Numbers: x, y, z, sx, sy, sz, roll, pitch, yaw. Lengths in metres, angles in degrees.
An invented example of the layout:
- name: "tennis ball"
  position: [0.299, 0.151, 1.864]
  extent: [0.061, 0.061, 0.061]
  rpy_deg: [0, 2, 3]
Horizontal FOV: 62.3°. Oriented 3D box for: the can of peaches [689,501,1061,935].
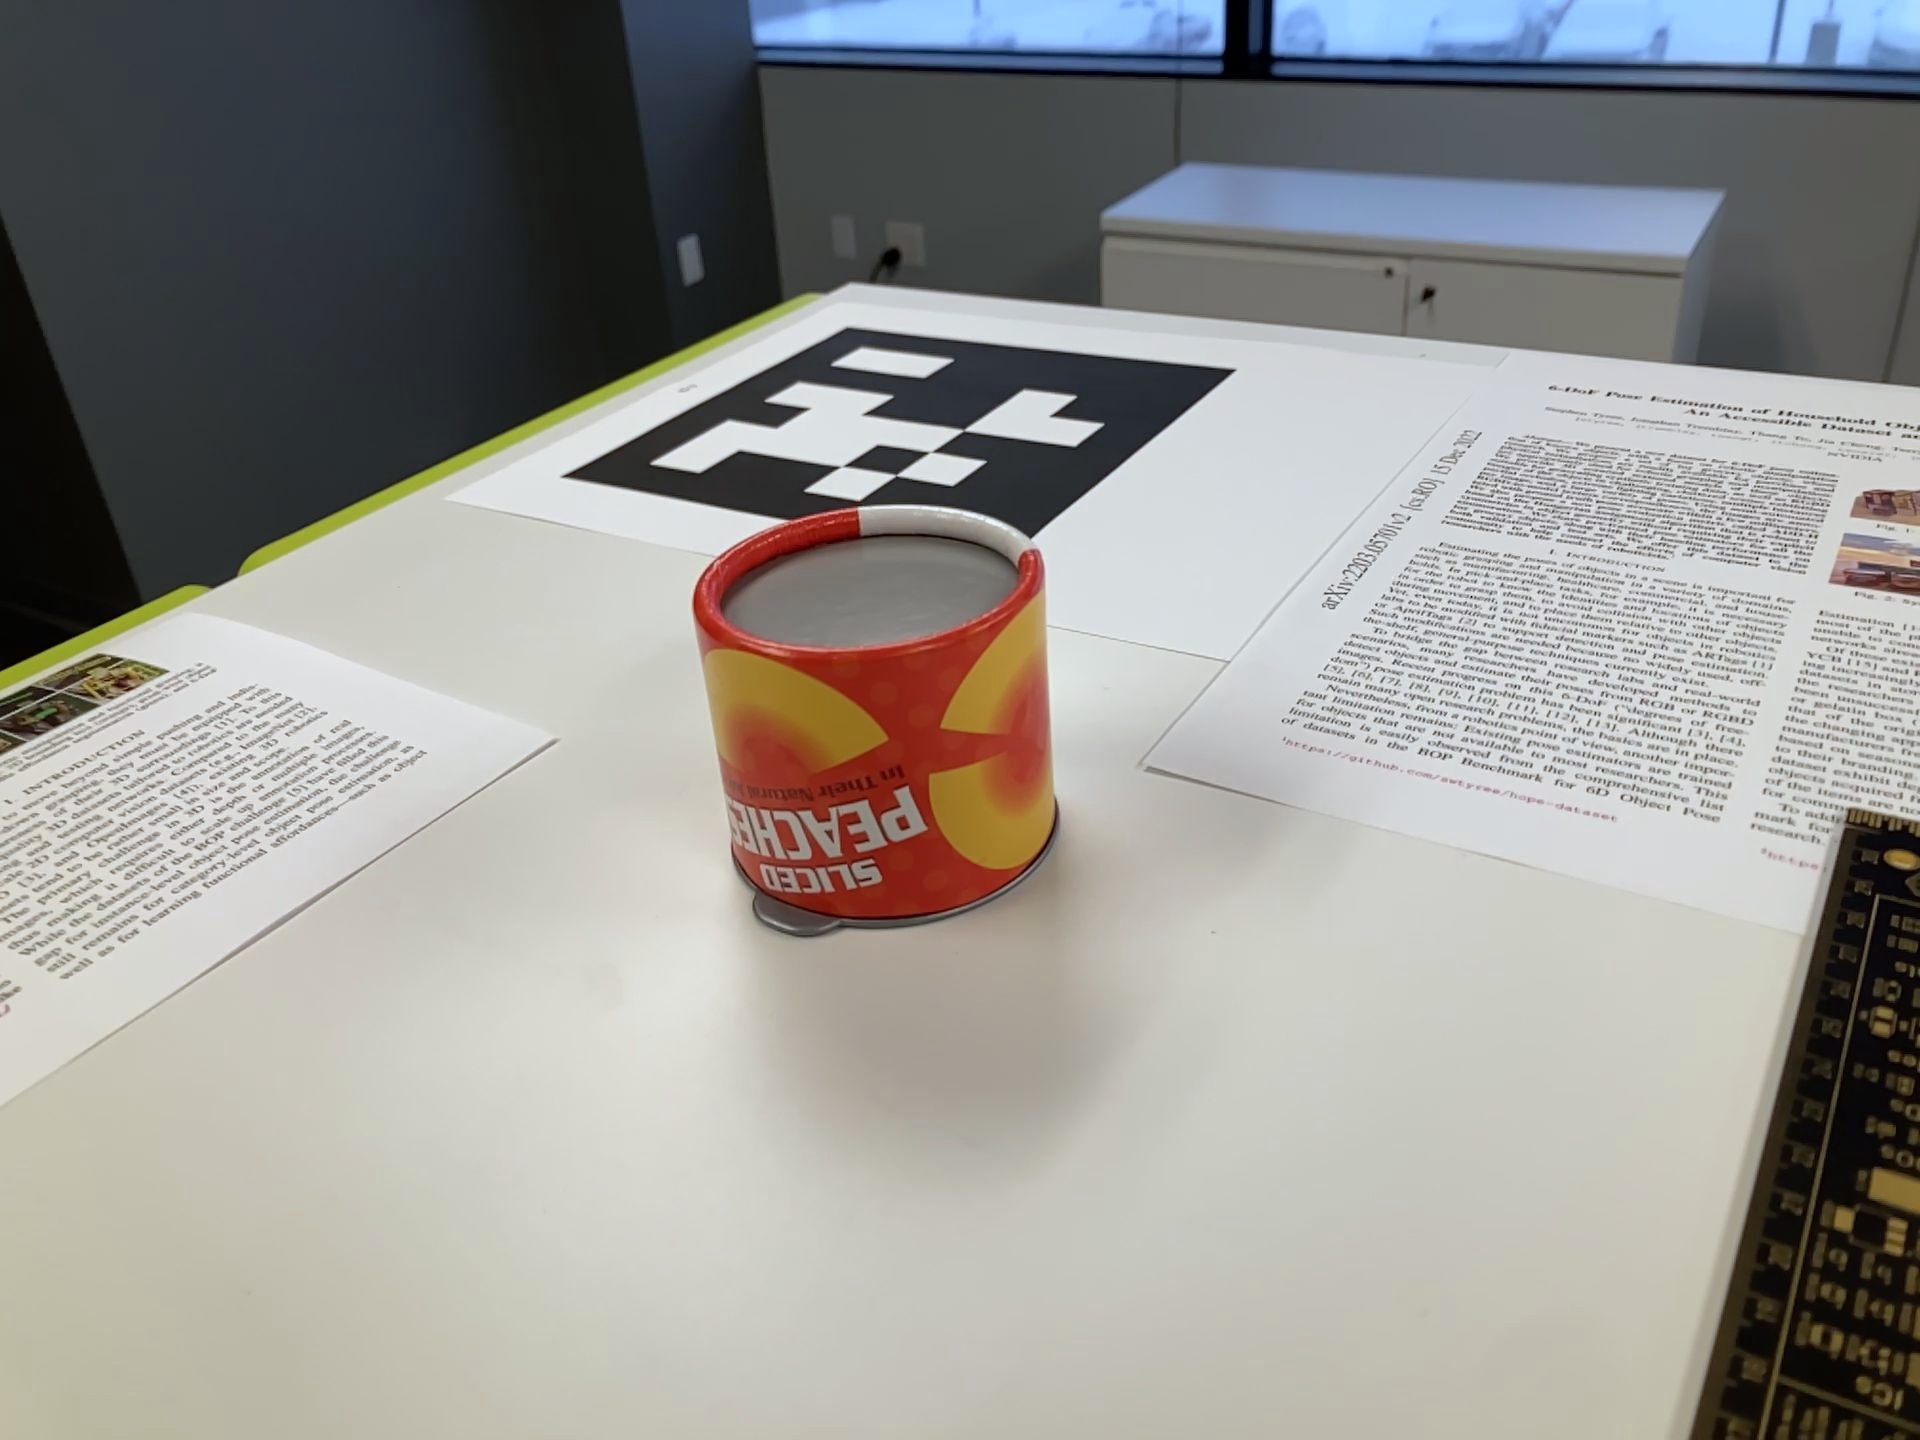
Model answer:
- name: "can of peaches"
  position: [-0.016, -0.002, 0.299]
  extent: [0.071, 0.058, 0.071]
  rpy_deg: [-3, 30, 2]
